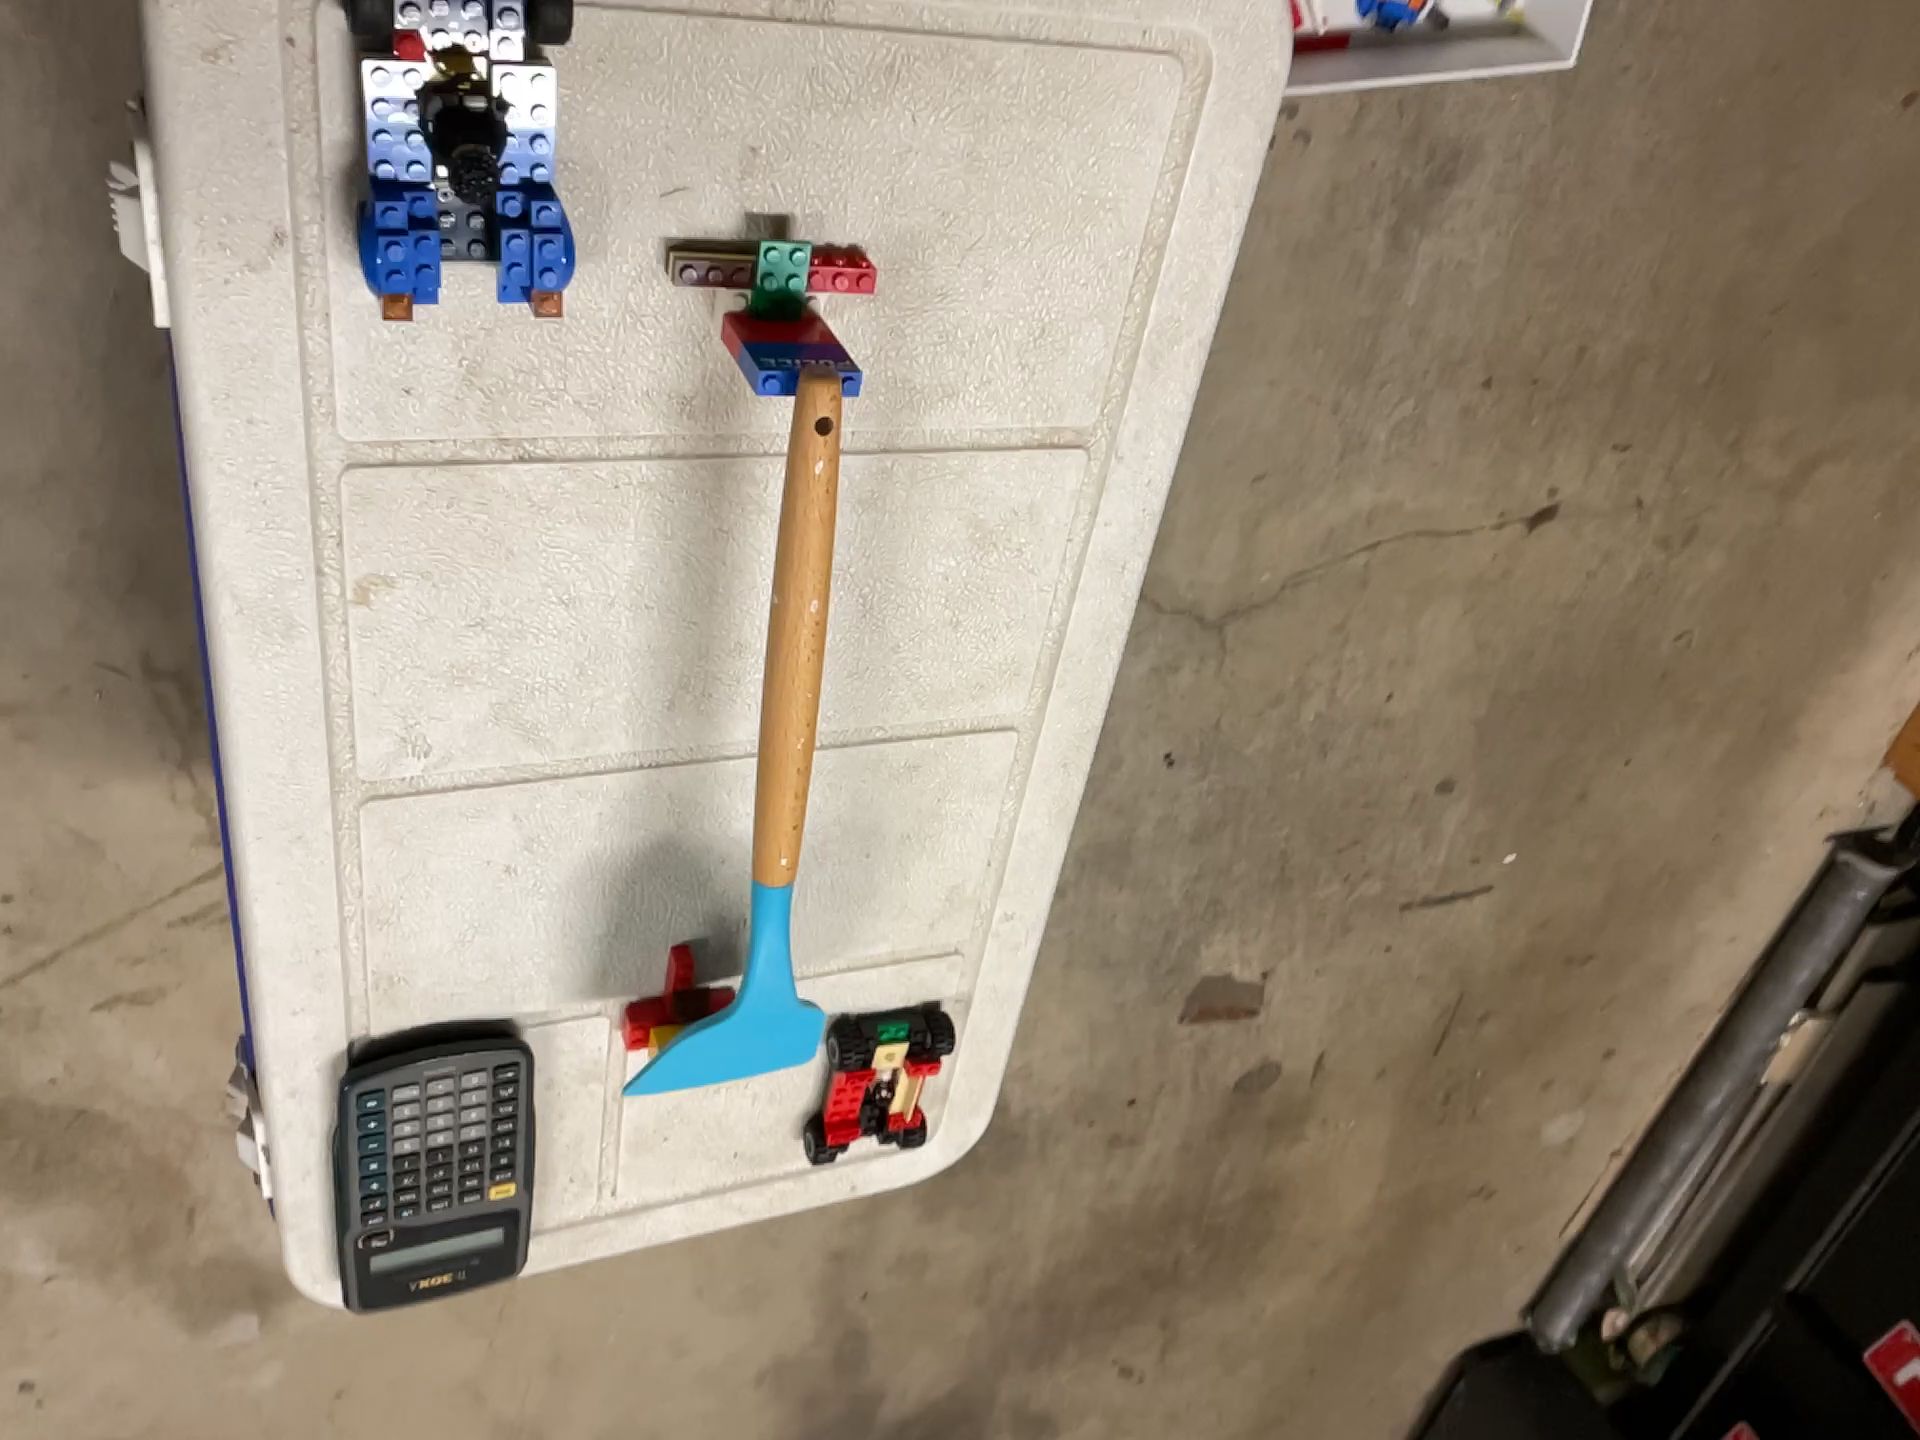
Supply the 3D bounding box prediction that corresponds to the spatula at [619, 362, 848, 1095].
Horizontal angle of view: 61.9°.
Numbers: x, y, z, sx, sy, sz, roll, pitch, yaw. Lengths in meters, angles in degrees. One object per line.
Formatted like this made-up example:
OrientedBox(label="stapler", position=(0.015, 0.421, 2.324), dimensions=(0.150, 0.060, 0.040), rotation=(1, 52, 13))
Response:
OrientedBox(label="spatula", position=(-0.066, 0.026, 0.548), dimensions=(0.082, 0.044, 0.317), rotation=(-5, 125, -23))
